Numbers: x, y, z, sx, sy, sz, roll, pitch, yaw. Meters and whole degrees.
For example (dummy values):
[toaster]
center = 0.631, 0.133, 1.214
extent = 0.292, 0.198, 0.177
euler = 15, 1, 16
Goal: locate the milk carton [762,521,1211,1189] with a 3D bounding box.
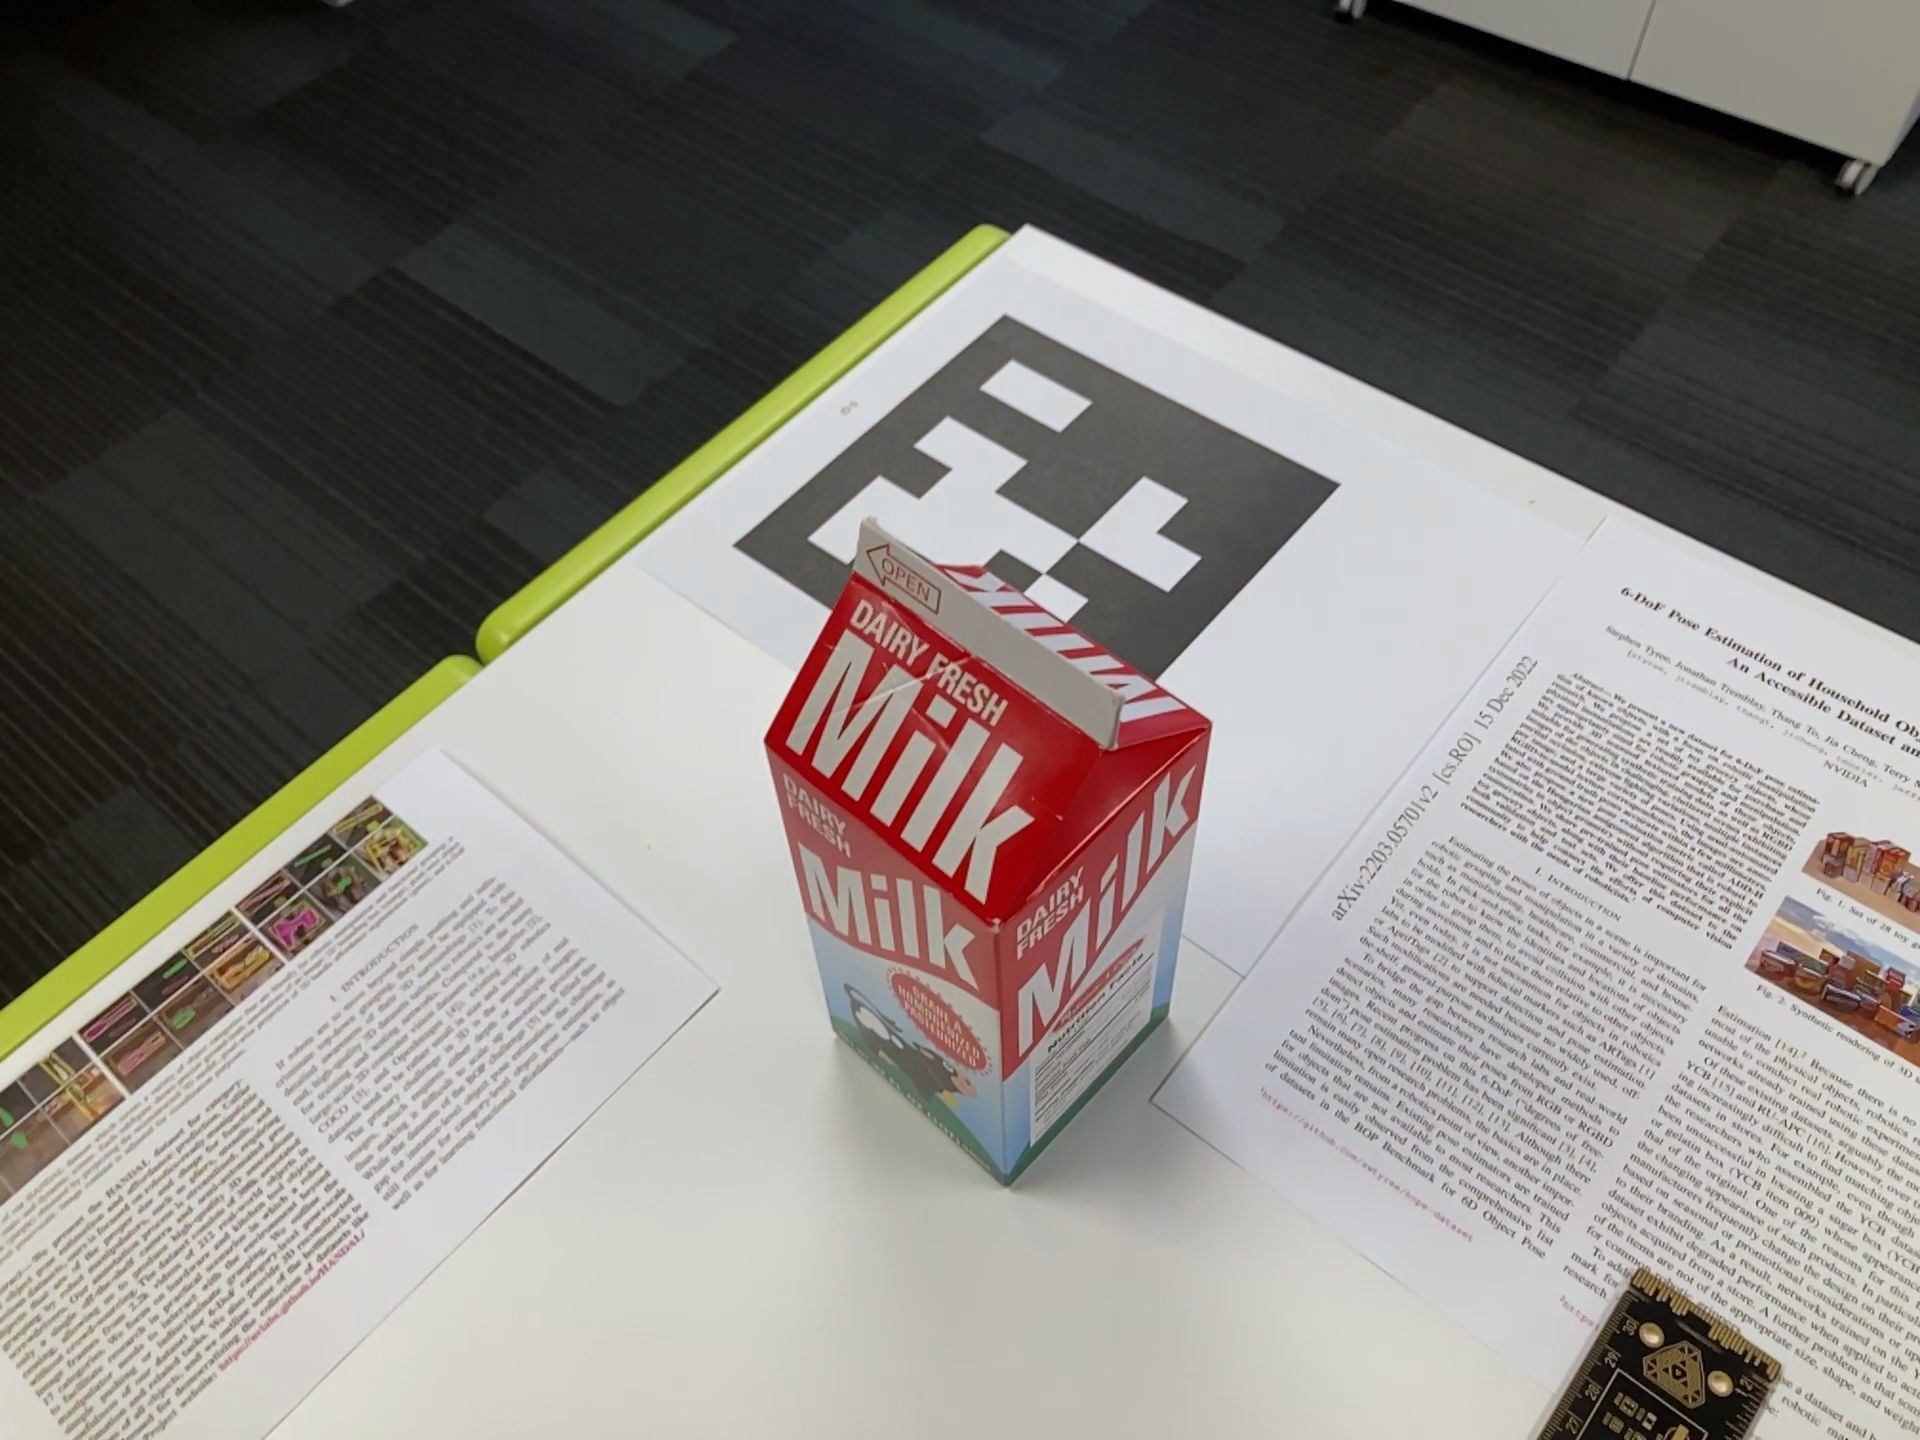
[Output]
[milk carton]
center = 0.008, 0.034, 0.388
extent = 0.072, 0.190, 0.073
euler = 37, 64, 25
